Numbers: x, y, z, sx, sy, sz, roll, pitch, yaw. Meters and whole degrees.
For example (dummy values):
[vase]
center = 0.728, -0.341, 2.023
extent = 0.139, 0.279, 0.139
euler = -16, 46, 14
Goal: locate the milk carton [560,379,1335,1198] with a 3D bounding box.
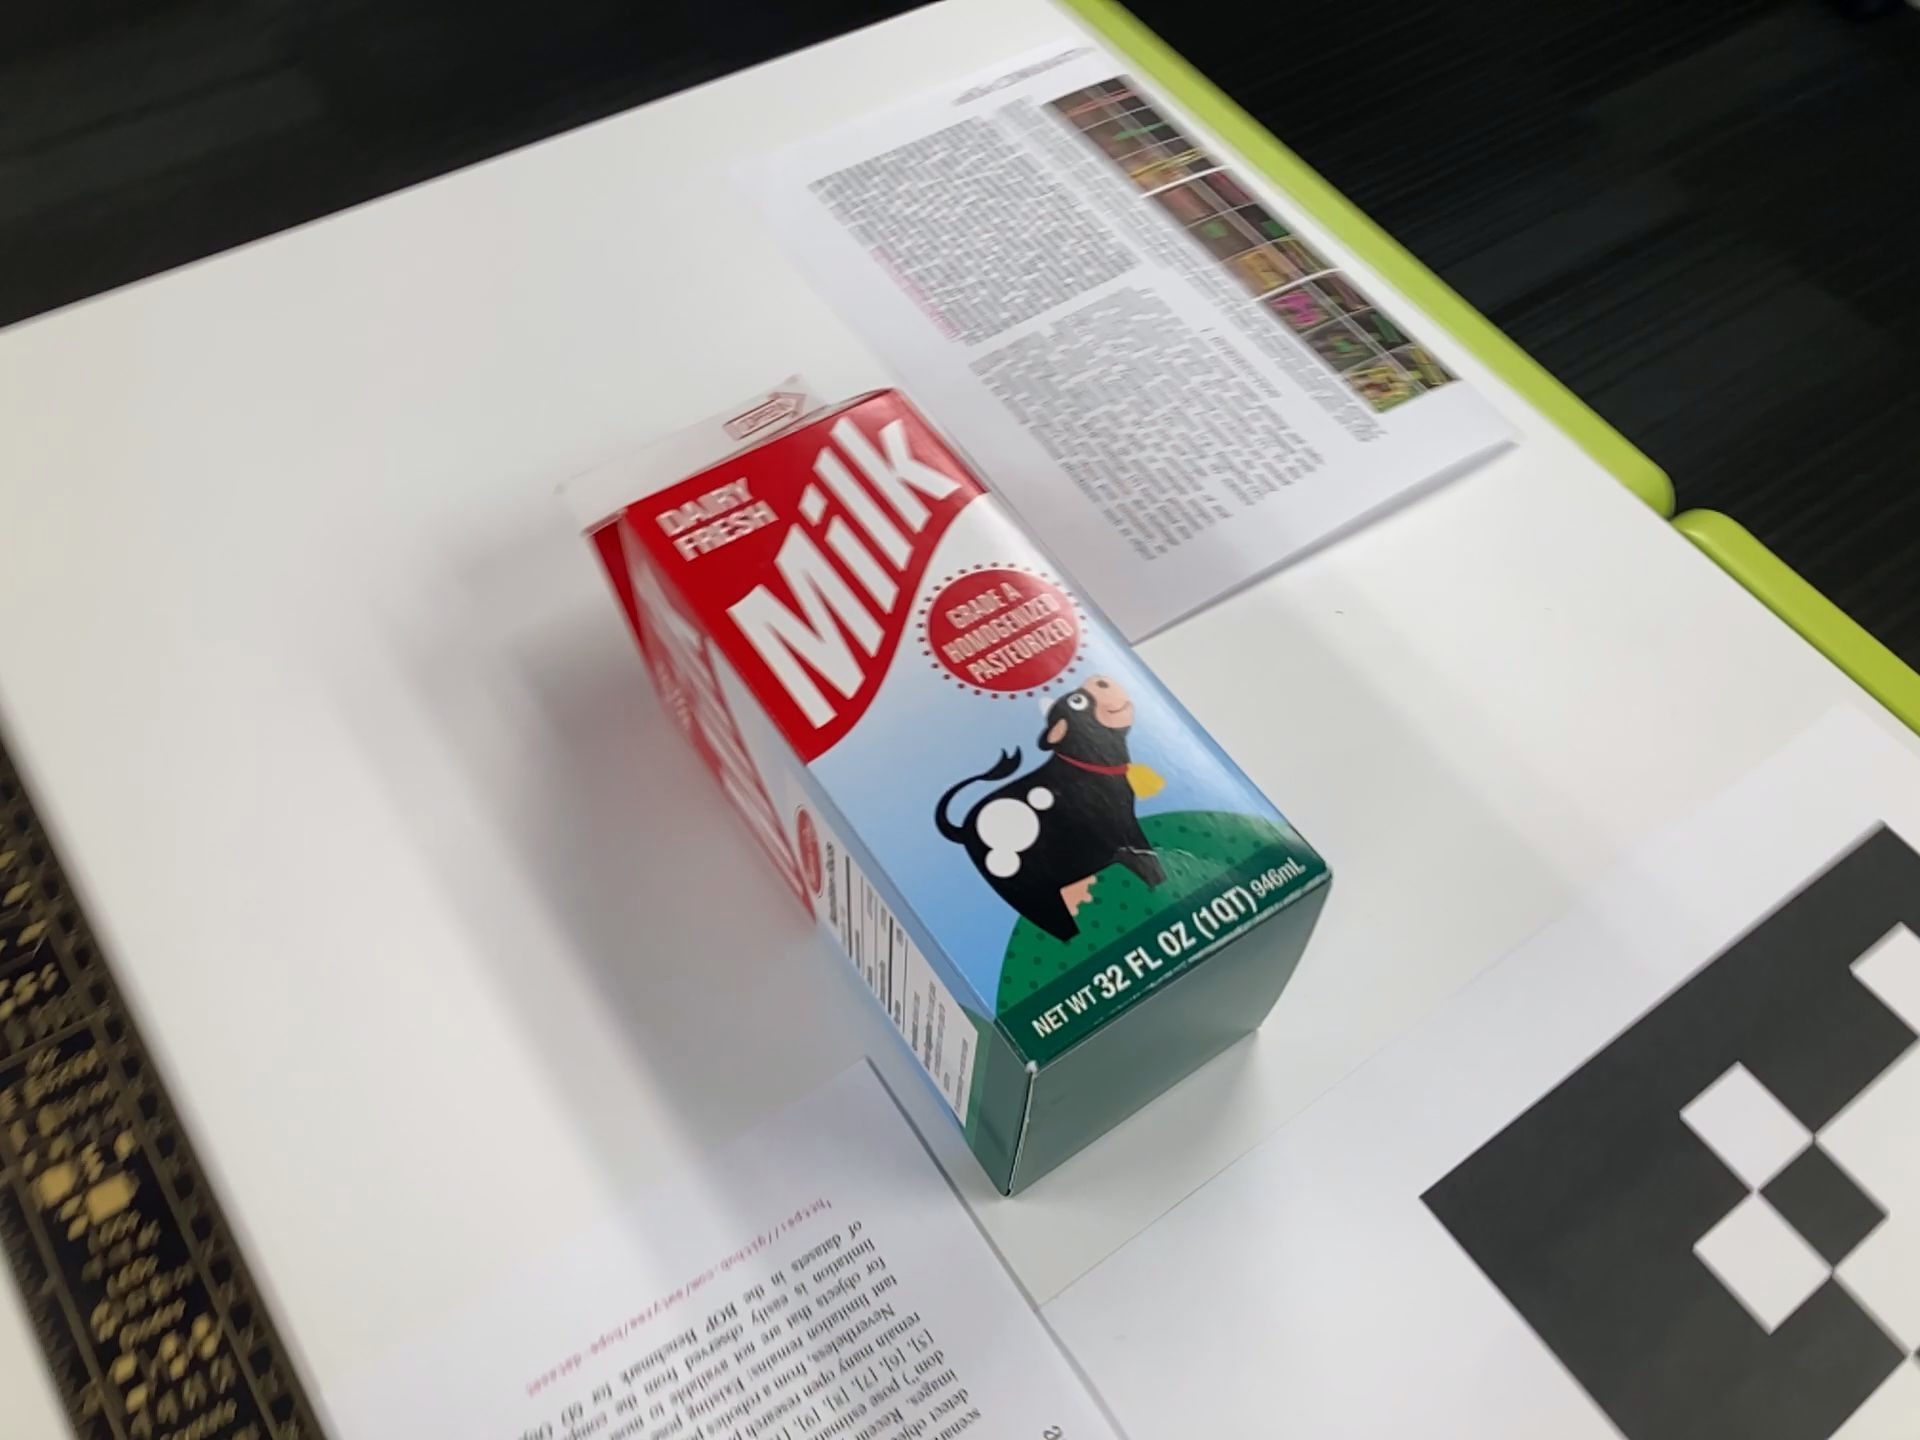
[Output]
[milk carton]
center = -0.014, -0.003, 0.347
extent = 0.072, 0.073, 0.190
euler = -29, 62, -20
